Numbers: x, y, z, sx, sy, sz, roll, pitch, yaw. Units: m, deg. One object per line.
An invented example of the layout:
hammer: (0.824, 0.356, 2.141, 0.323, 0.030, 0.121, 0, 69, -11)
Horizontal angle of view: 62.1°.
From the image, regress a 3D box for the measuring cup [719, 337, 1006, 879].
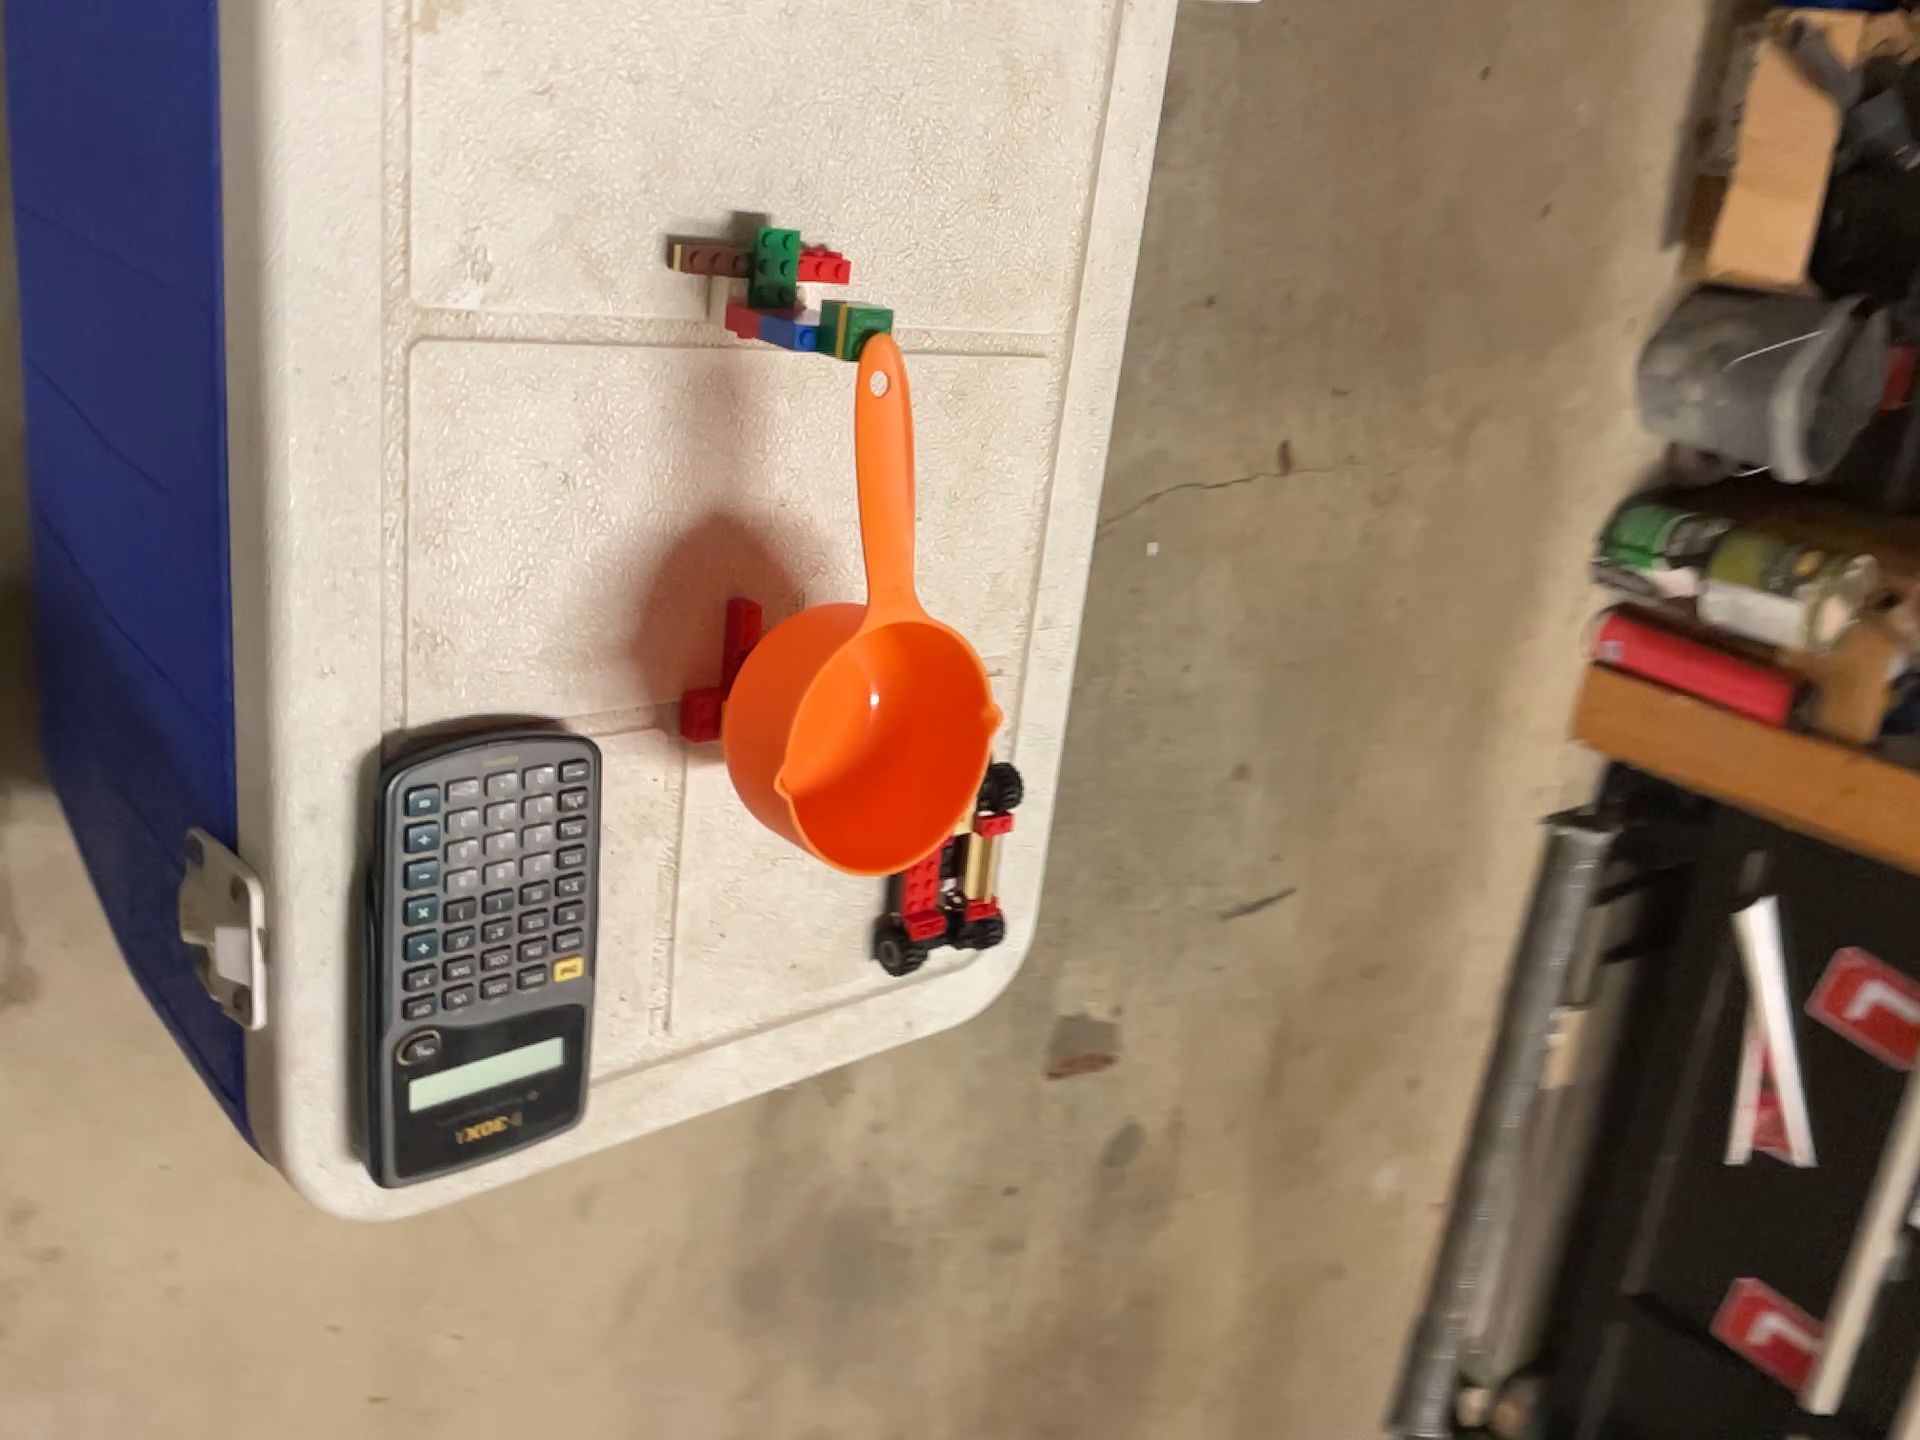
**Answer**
measuring cup: (-0.037, -0.037, 0.517, 0.095, 0.052, 0.173, -16, 114, -39)
